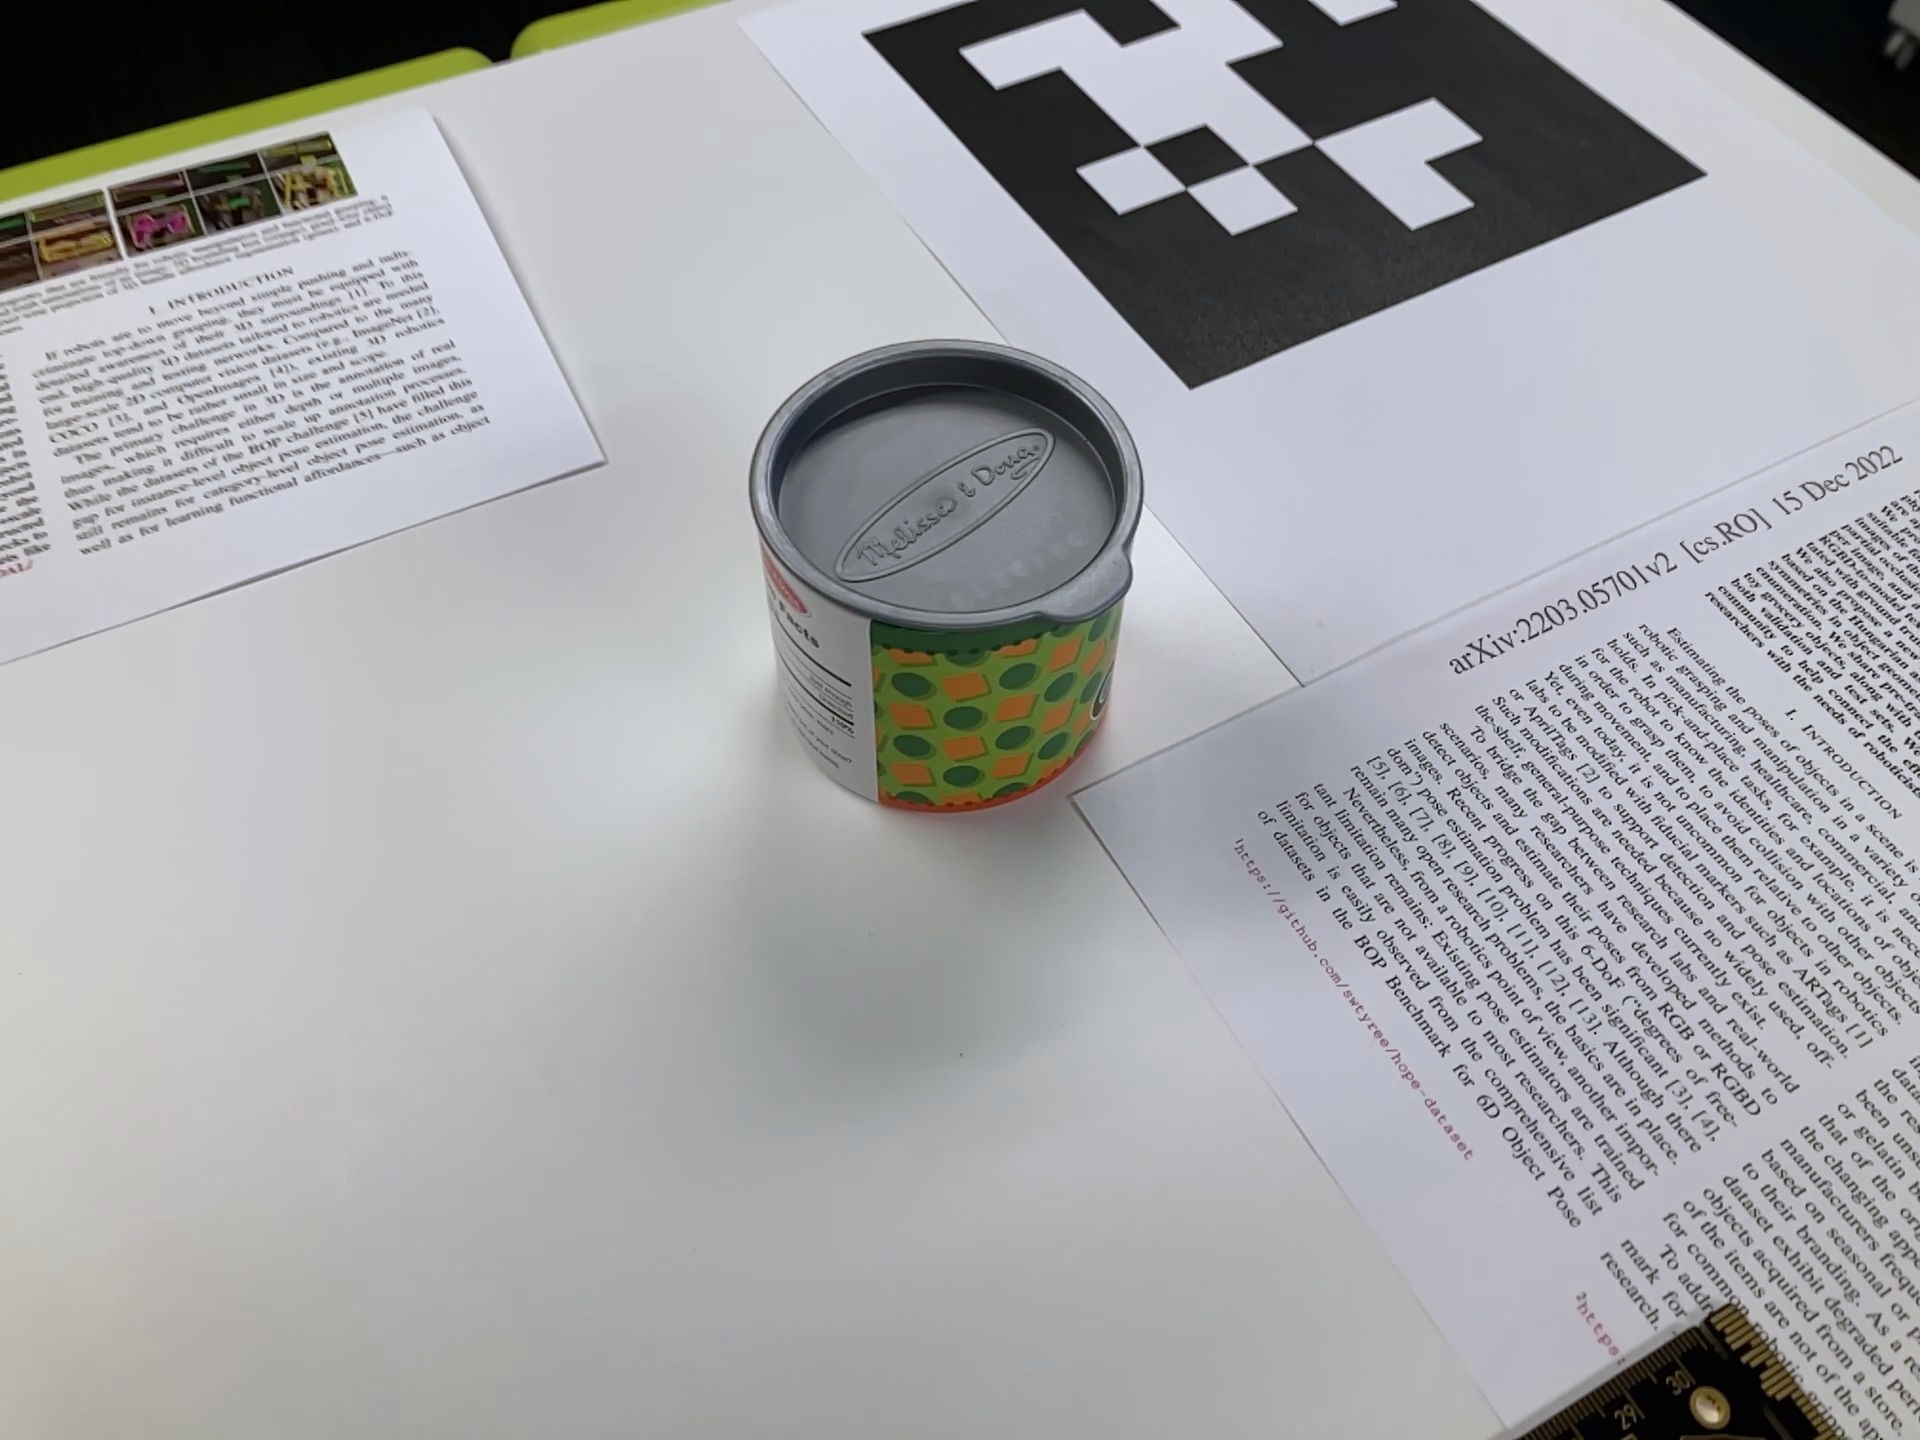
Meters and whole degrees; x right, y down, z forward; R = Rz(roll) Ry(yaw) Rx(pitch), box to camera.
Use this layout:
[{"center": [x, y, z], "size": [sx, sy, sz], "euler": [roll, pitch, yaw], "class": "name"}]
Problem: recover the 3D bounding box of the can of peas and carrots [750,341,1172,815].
[{"center": [0.000, -0.025, 0.289], "size": [0.071, 0.059, 0.071], "euler": [0, 55, 0], "class": "can of peas and carrots"}]
